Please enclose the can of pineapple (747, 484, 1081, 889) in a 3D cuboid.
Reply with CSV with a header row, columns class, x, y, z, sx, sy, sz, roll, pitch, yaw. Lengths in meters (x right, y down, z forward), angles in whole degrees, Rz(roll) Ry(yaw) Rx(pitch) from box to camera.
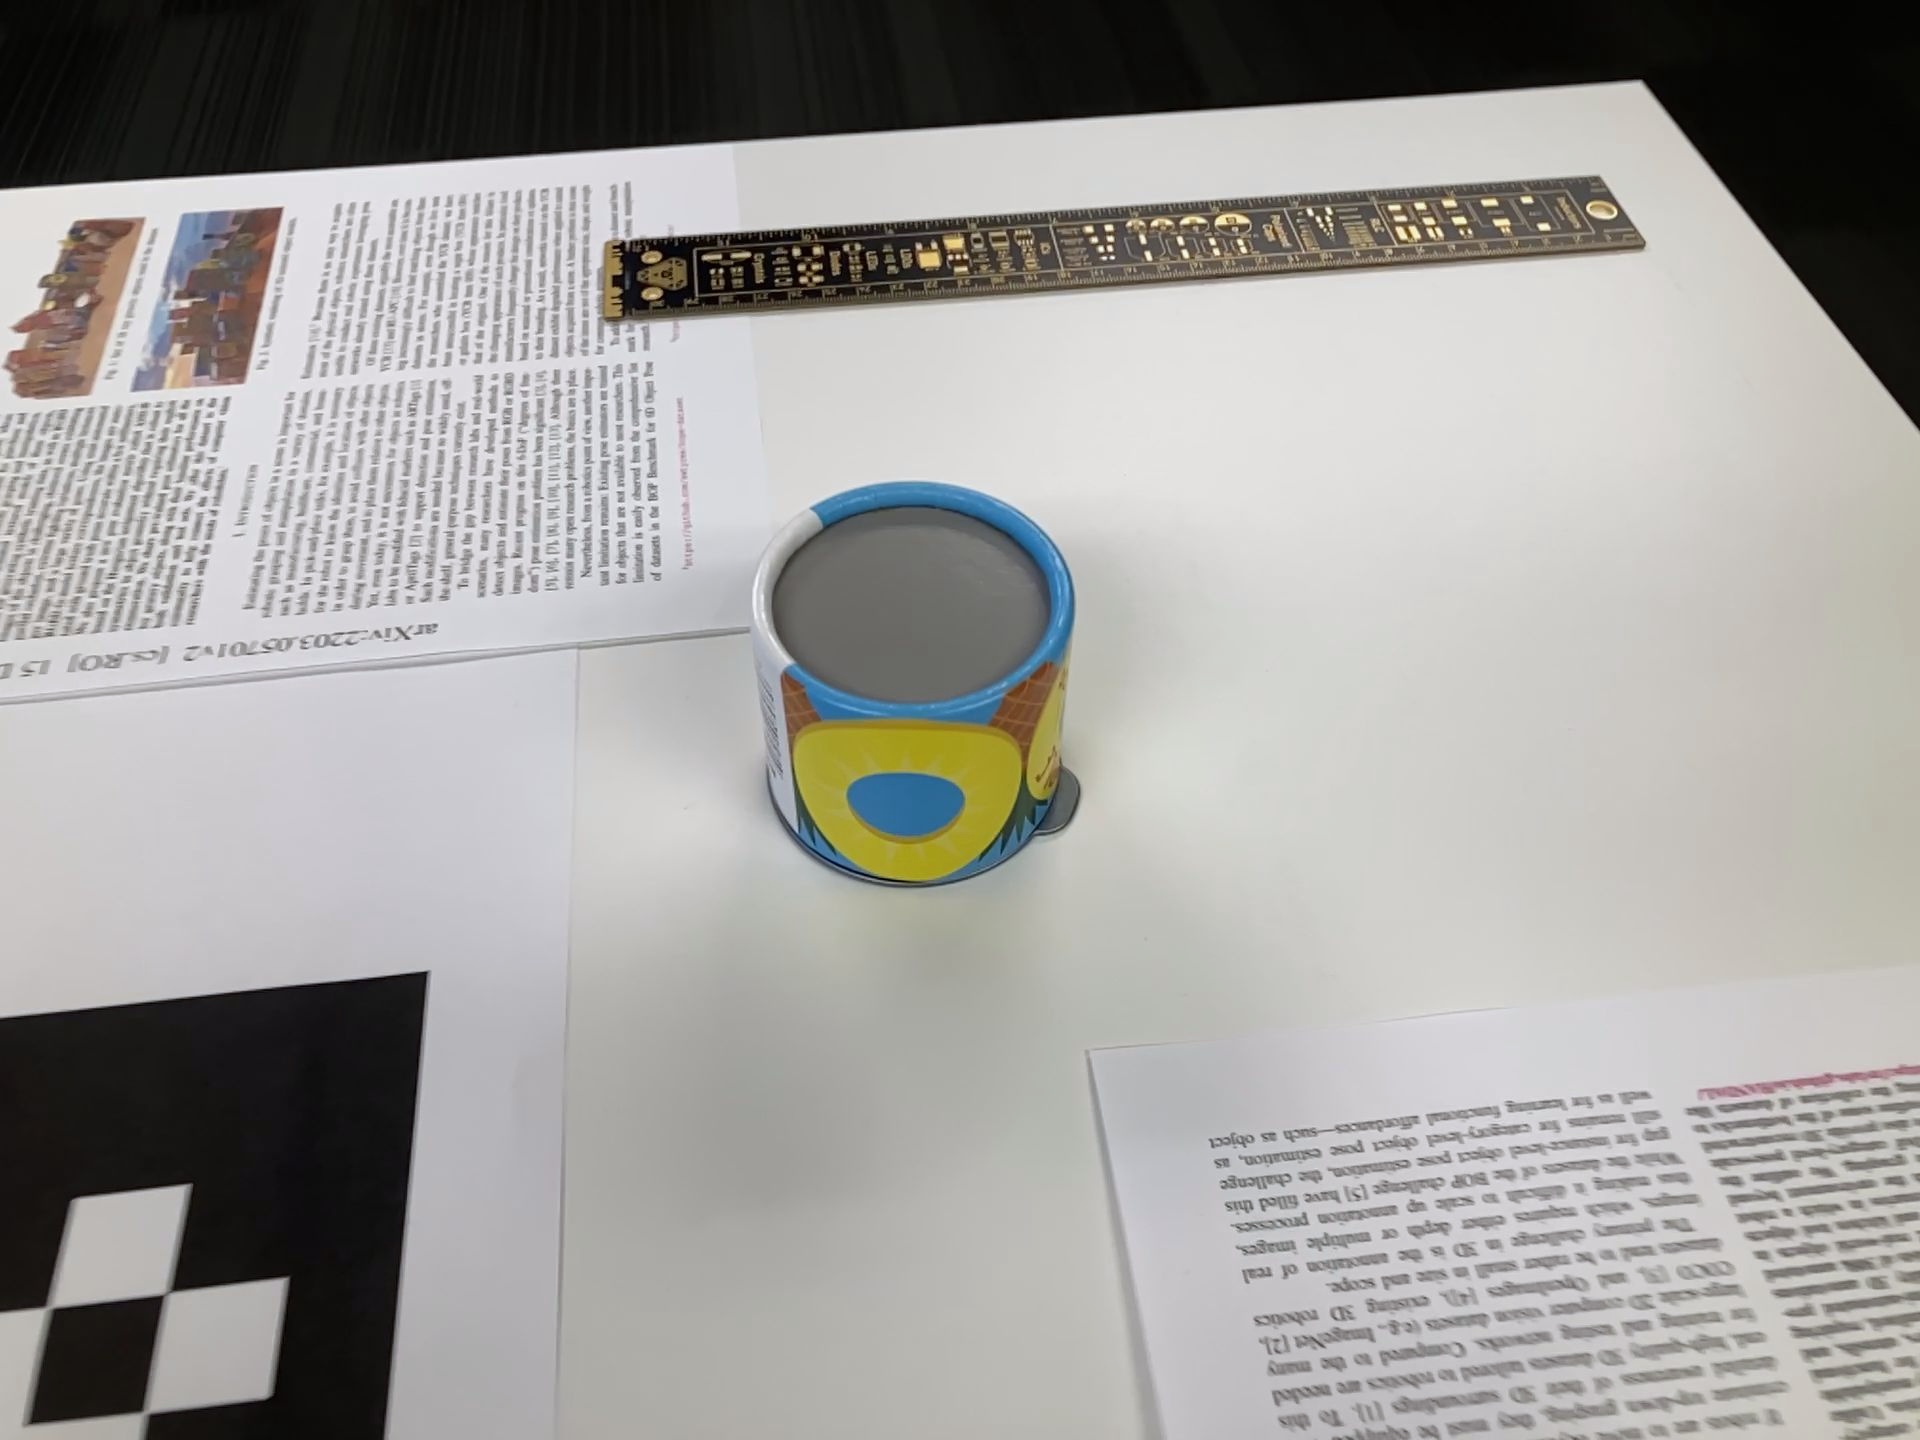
class,x,y,z,sx,sy,sz,roll,pitch,yaw
can of pineapple,-0.008,-0.007,0.336,0.071,0.058,0.071,0,51,-1
